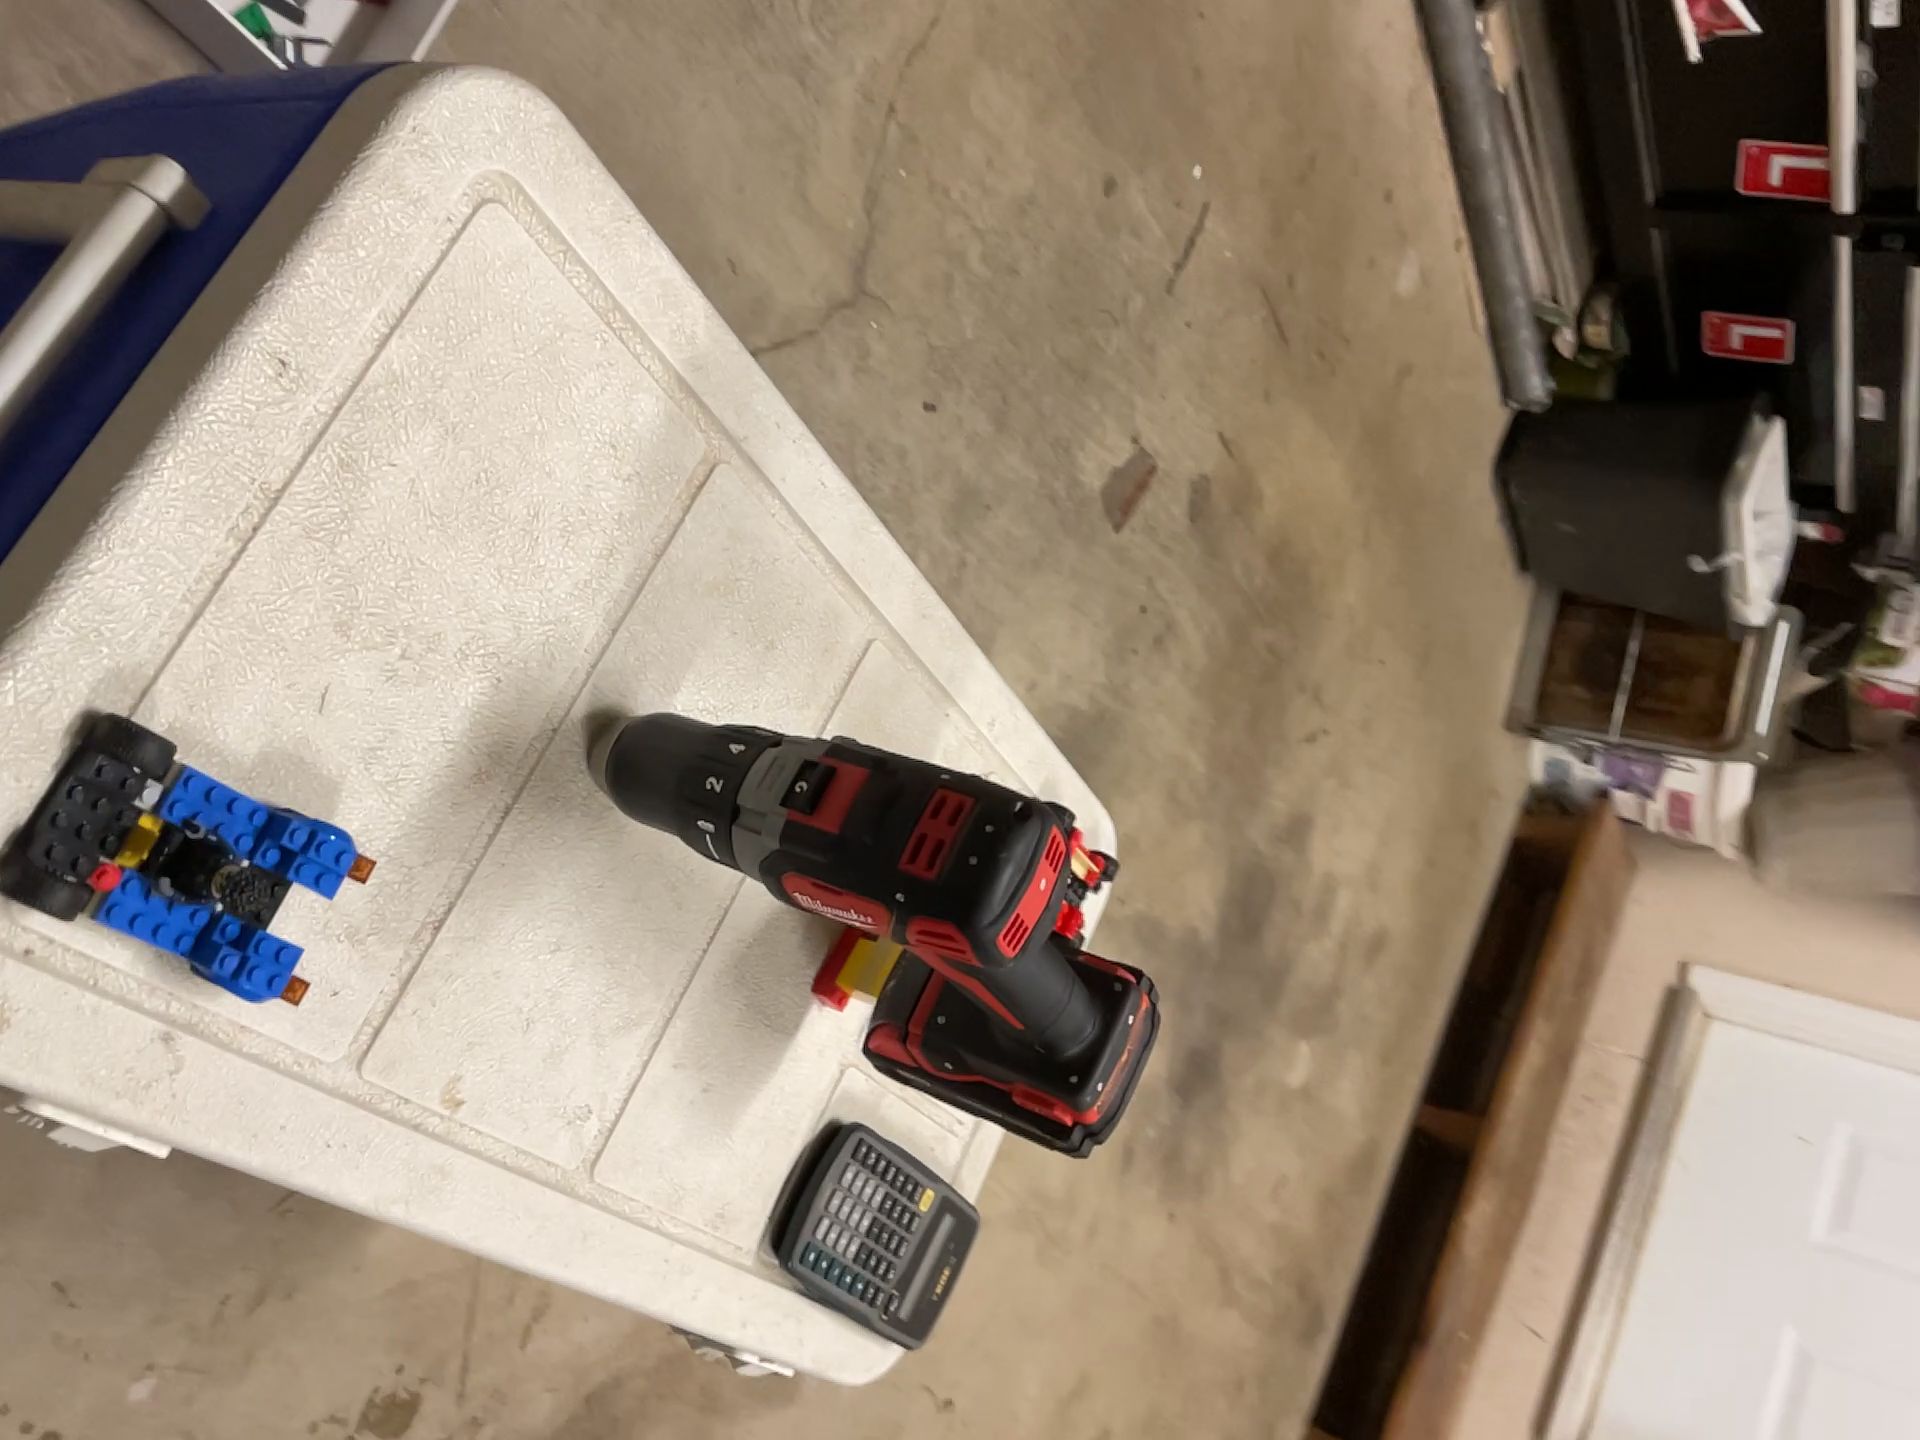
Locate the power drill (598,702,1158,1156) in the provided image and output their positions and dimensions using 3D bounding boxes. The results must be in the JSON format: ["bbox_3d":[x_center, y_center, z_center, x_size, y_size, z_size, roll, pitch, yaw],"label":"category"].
[{"bbox_3d":[-0.027,0.075,0.623,0.080,0.188,0.226,-60,148,-21],"label":"power drill"}]
